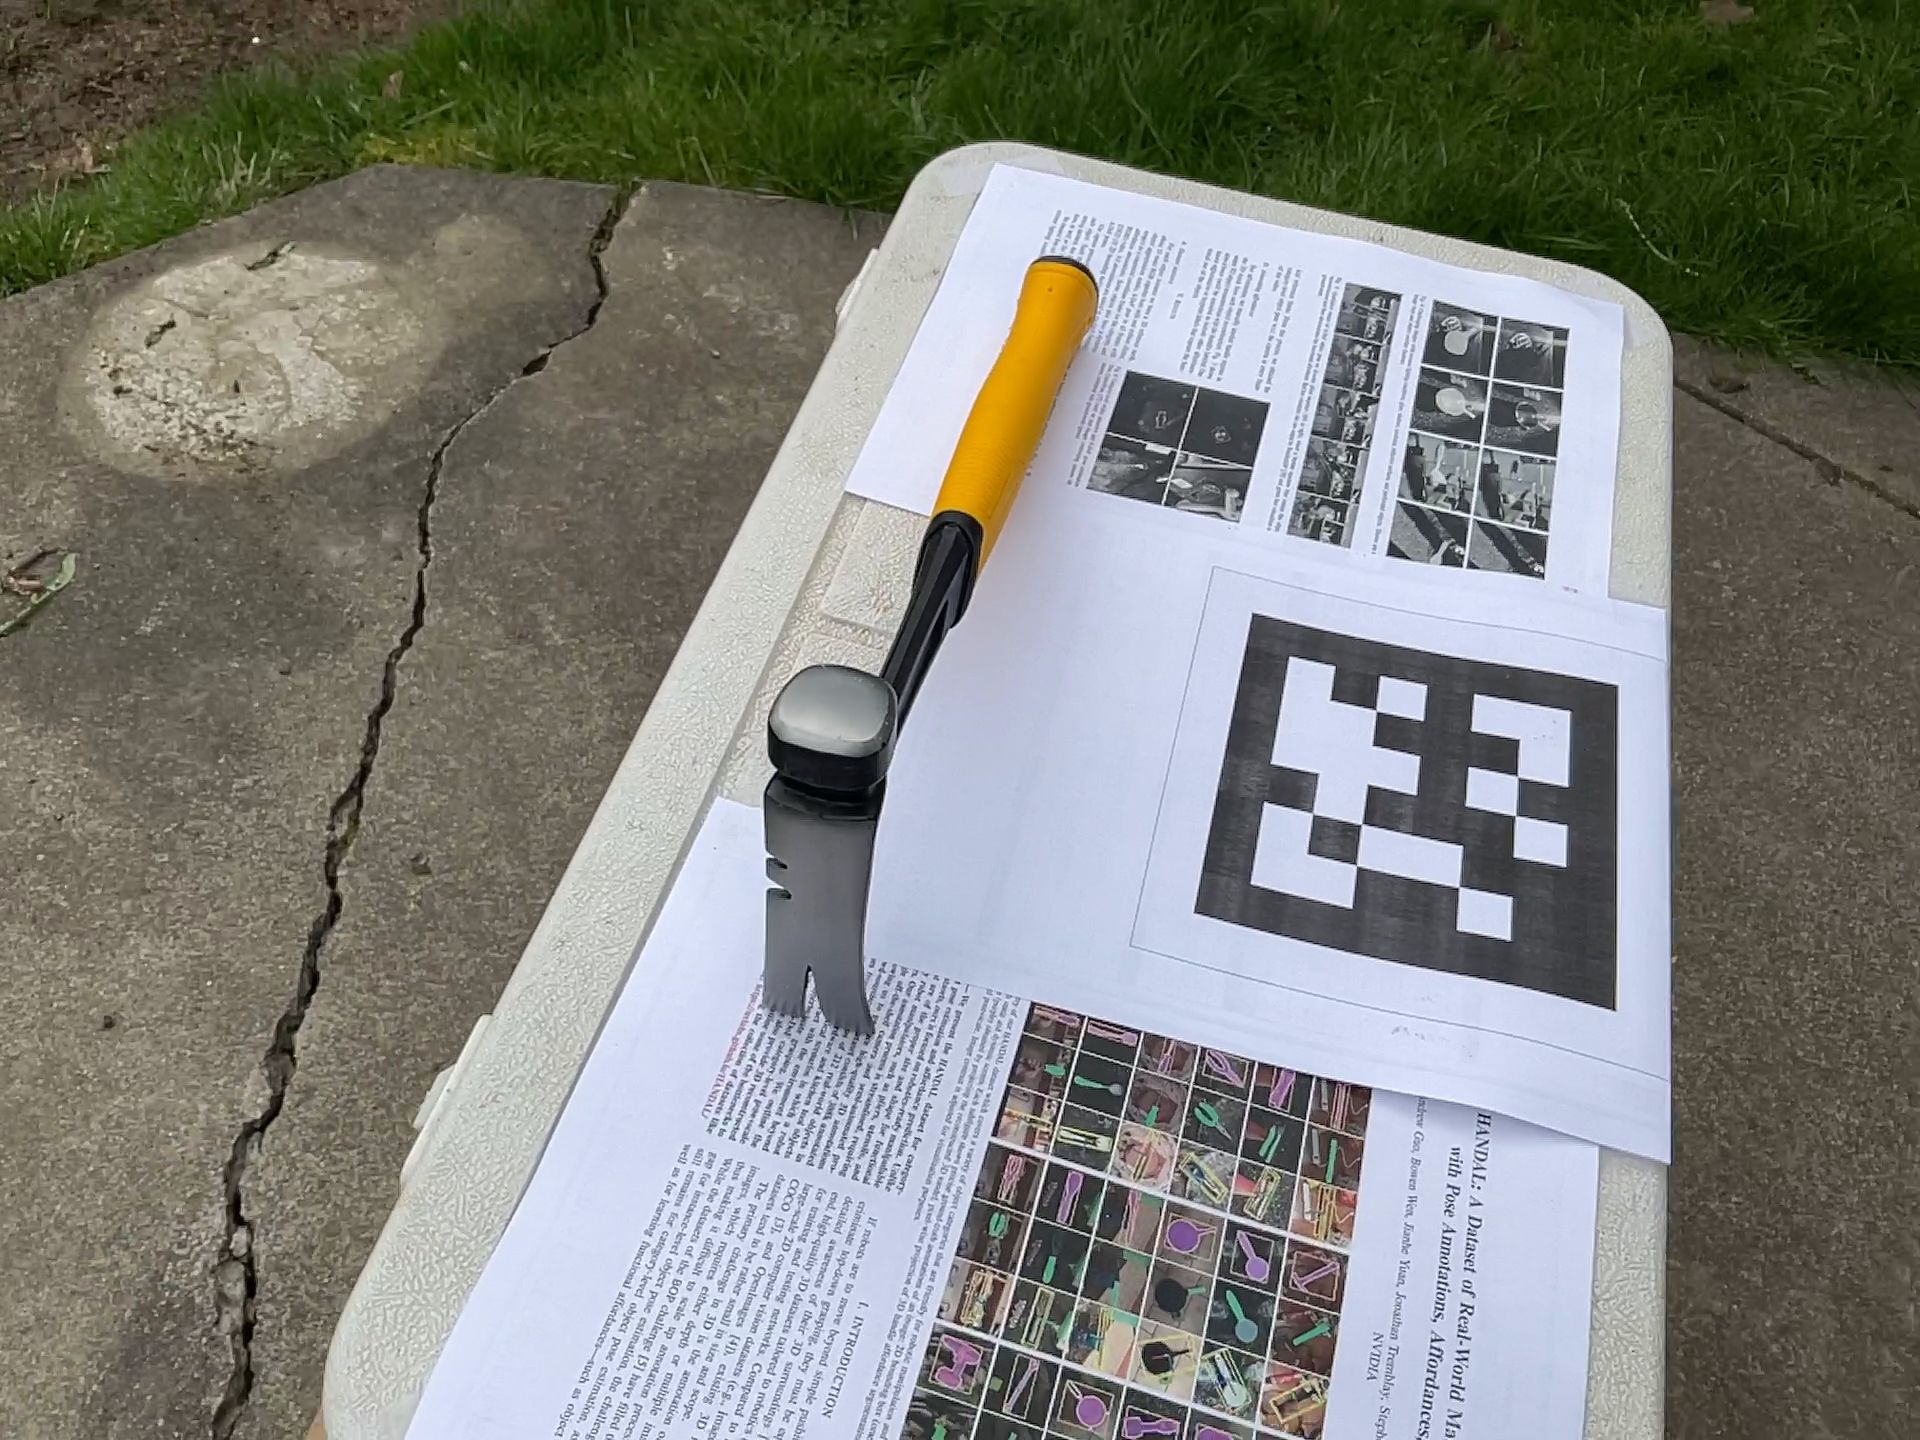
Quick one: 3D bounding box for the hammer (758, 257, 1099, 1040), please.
[{"bbox_3d":[0.001,-0.057,0.535,0.034,0.127,0.337,14,43,6],"label":"hammer"}]
